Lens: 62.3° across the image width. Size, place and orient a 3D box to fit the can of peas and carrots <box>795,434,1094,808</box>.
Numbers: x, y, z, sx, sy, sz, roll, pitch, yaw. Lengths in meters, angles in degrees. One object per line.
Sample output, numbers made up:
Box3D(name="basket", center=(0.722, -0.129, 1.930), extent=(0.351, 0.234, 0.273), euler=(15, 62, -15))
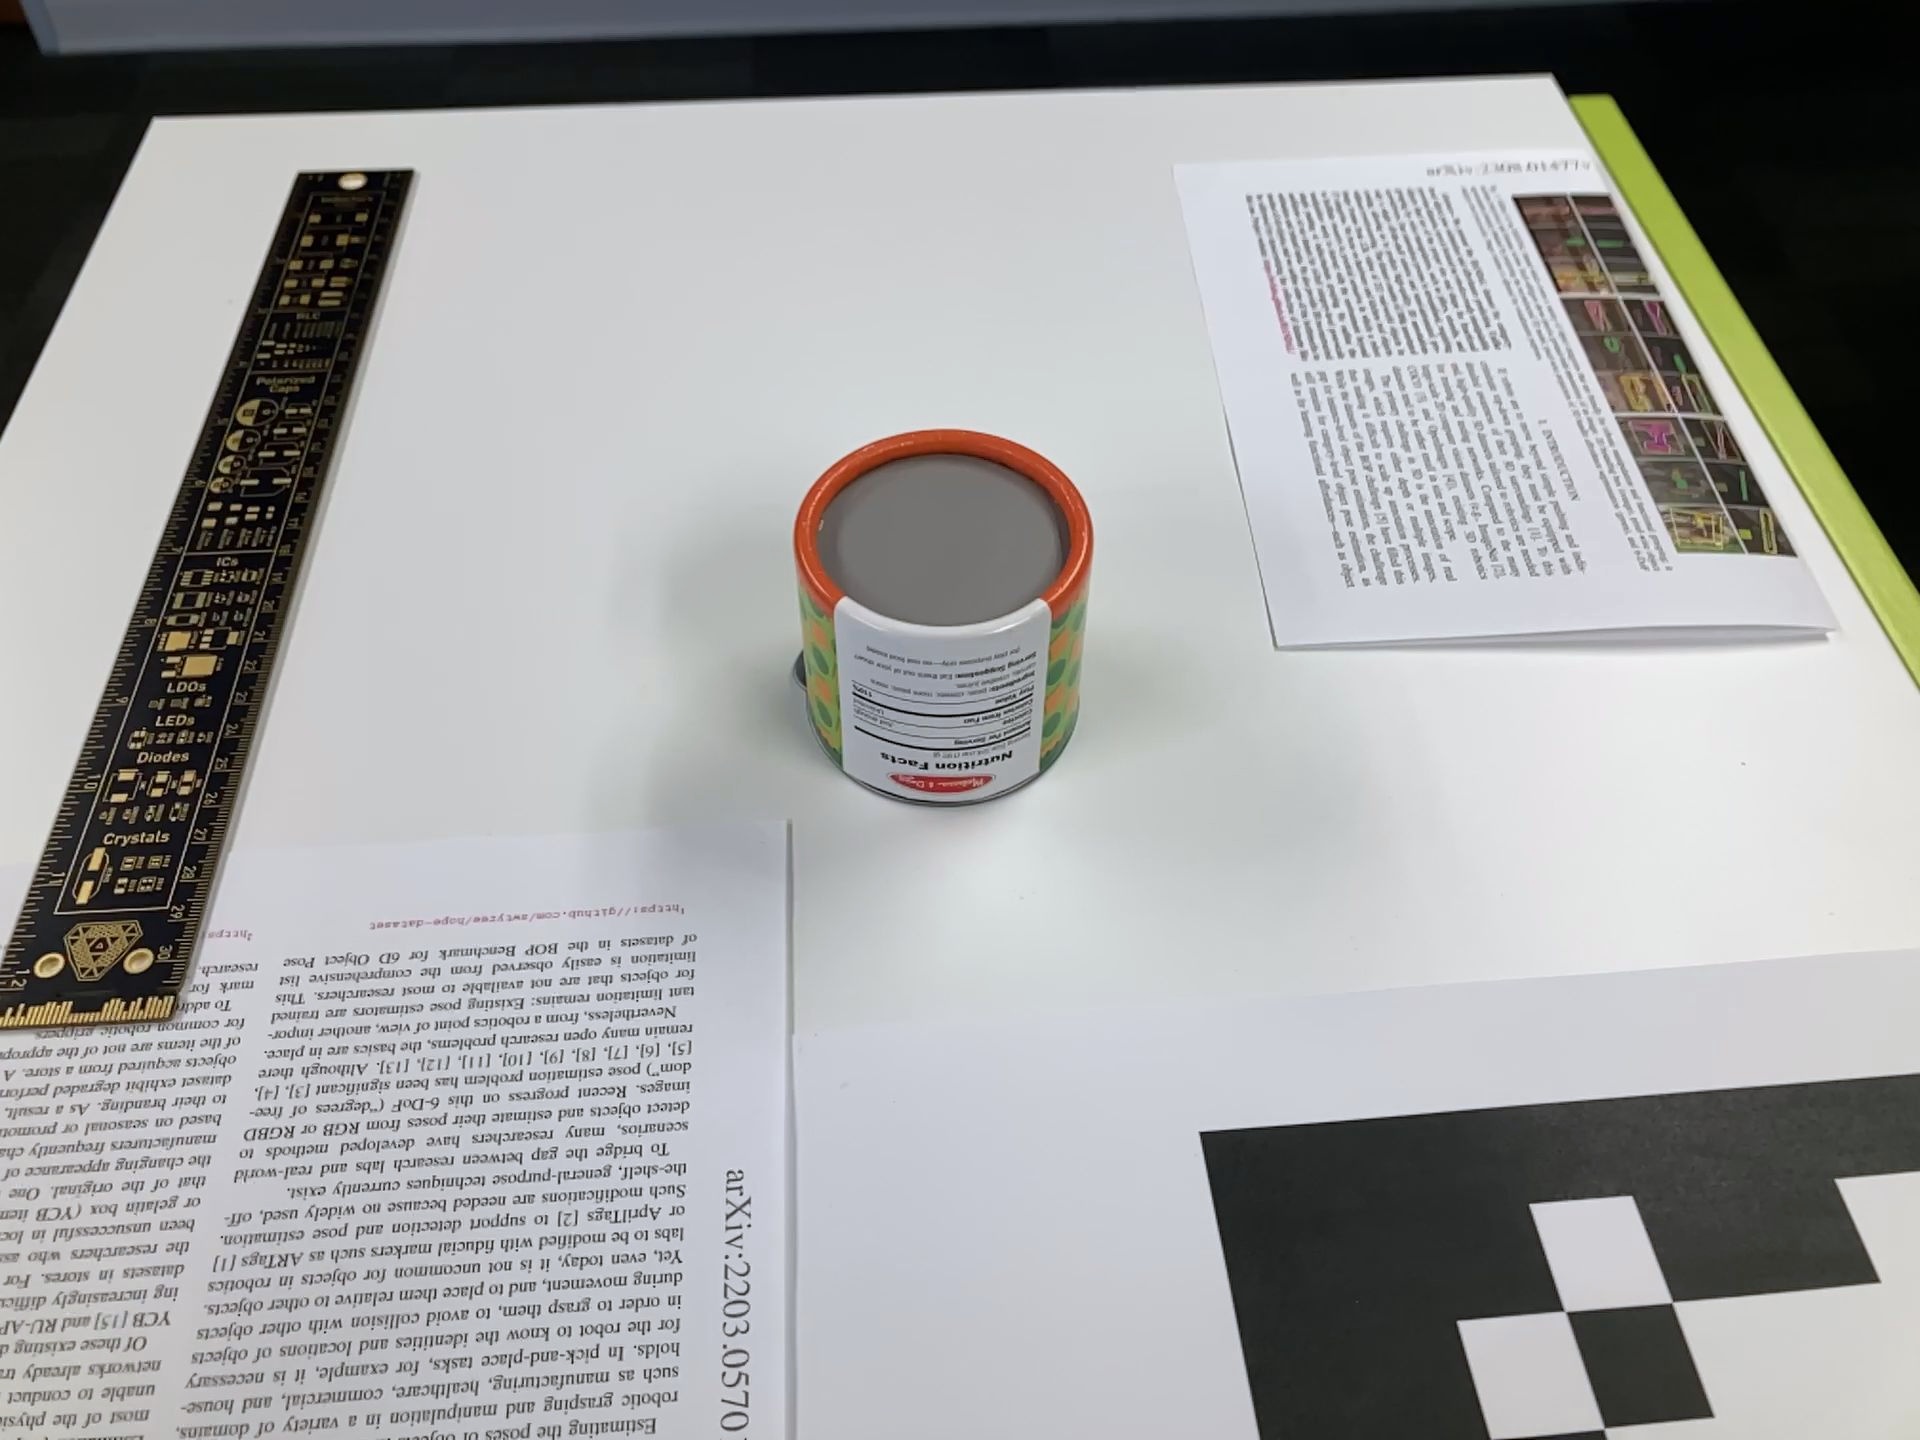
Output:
Box3D(name="can of peas and carrots", center=(-0.004, -0.025, 0.367), extent=(0.071, 0.059, 0.071), euler=(1, 50, -1))
